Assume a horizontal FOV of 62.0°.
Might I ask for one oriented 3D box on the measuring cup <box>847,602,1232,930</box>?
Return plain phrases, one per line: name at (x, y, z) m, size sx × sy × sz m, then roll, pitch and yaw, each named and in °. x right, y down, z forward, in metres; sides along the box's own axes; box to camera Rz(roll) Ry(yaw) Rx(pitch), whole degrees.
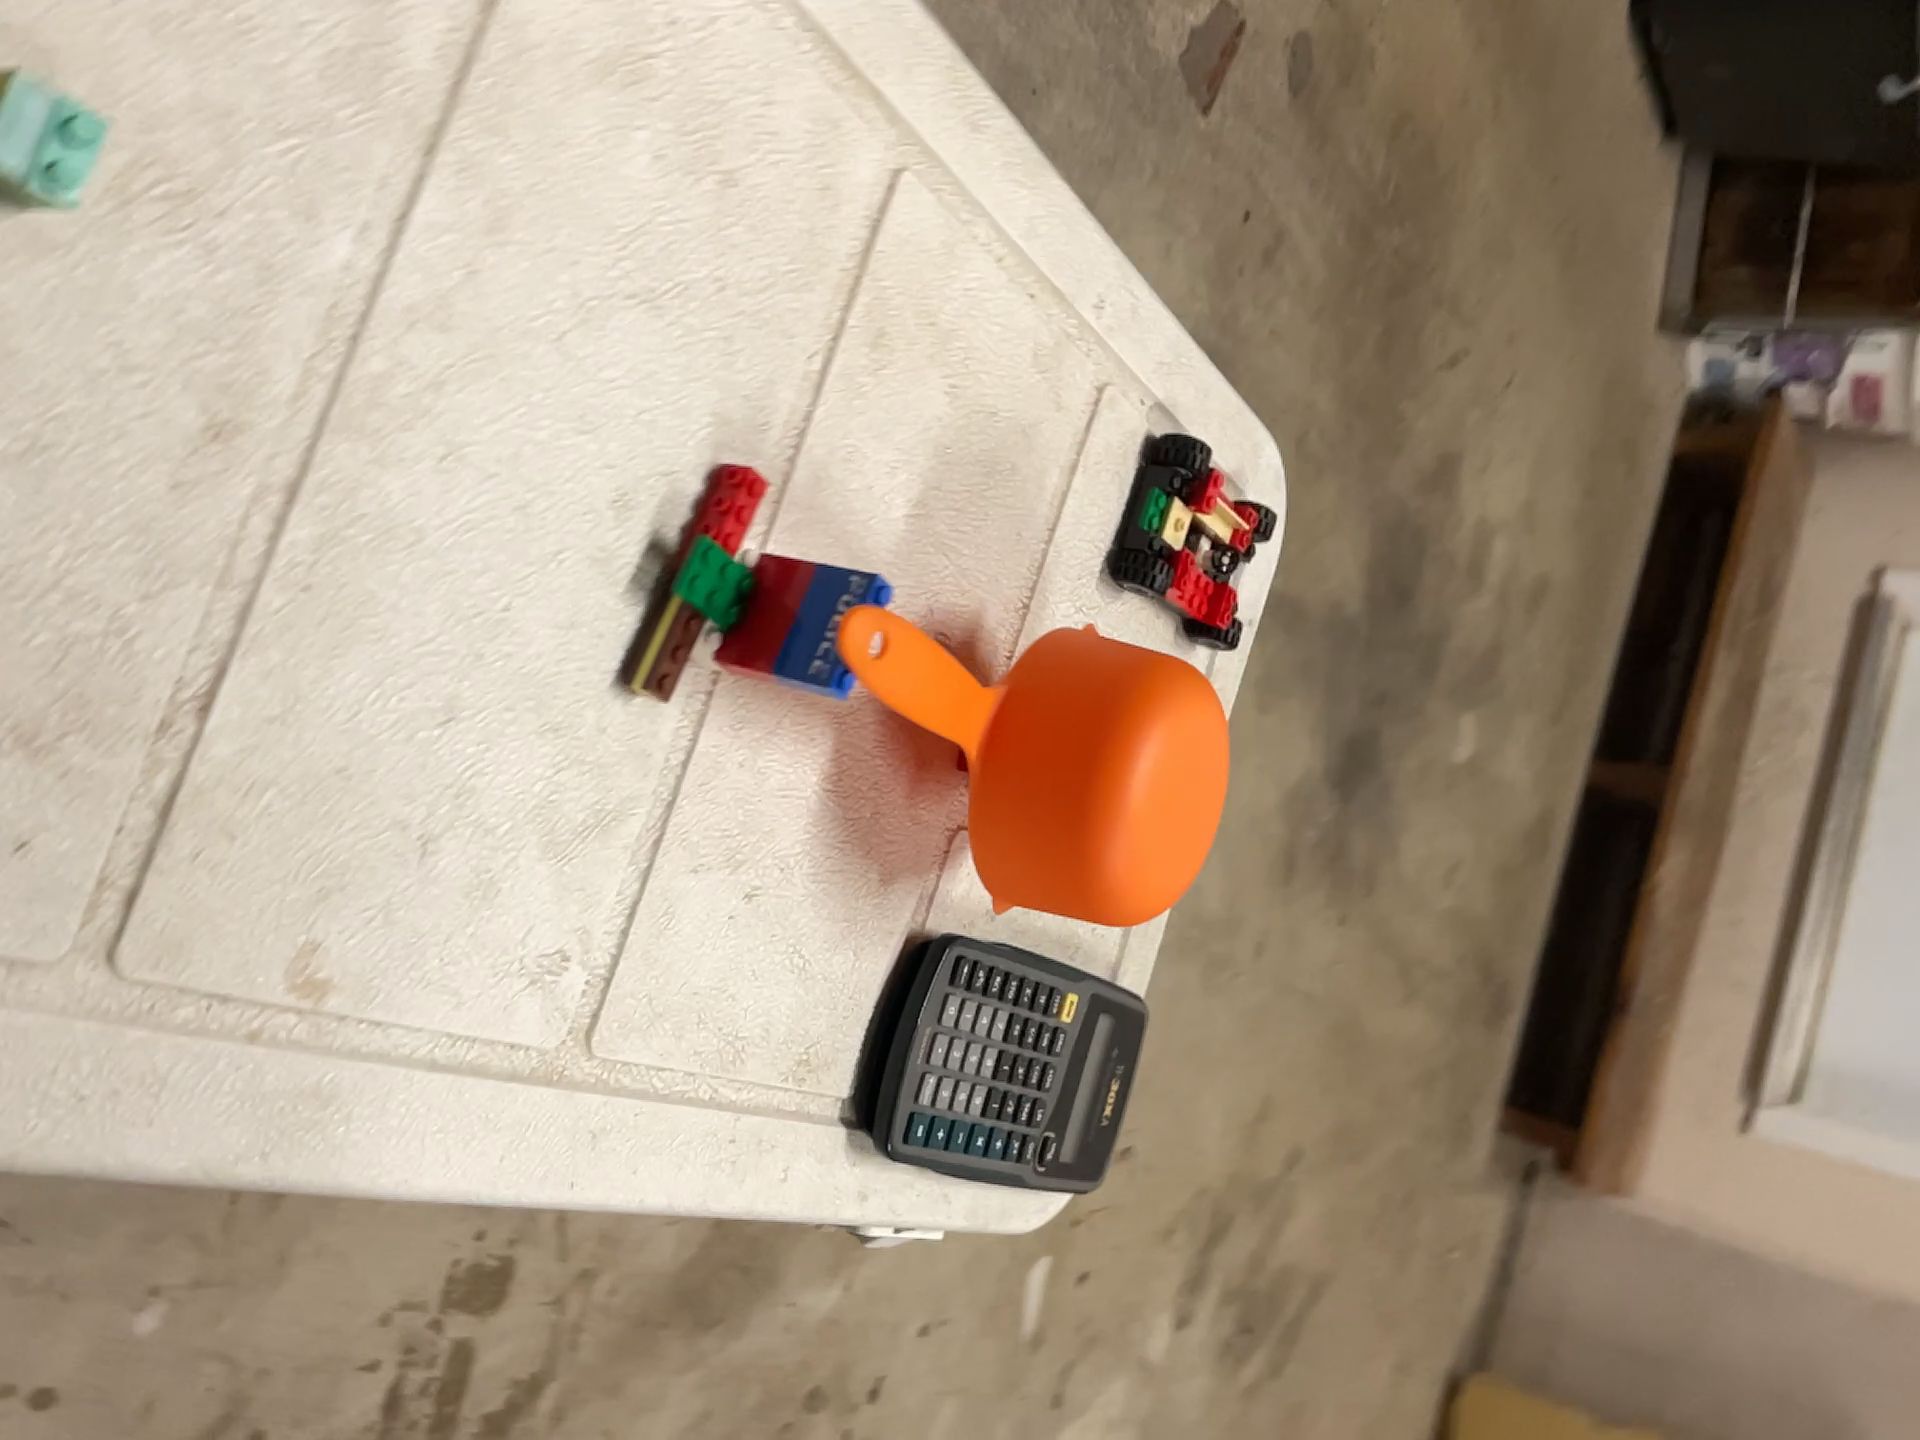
measuring cup at (0.028, 0.006, 0.444) m, size 0.173 × 0.052 × 0.095 m, roll 36°, pitch 70°, yaw -59°
